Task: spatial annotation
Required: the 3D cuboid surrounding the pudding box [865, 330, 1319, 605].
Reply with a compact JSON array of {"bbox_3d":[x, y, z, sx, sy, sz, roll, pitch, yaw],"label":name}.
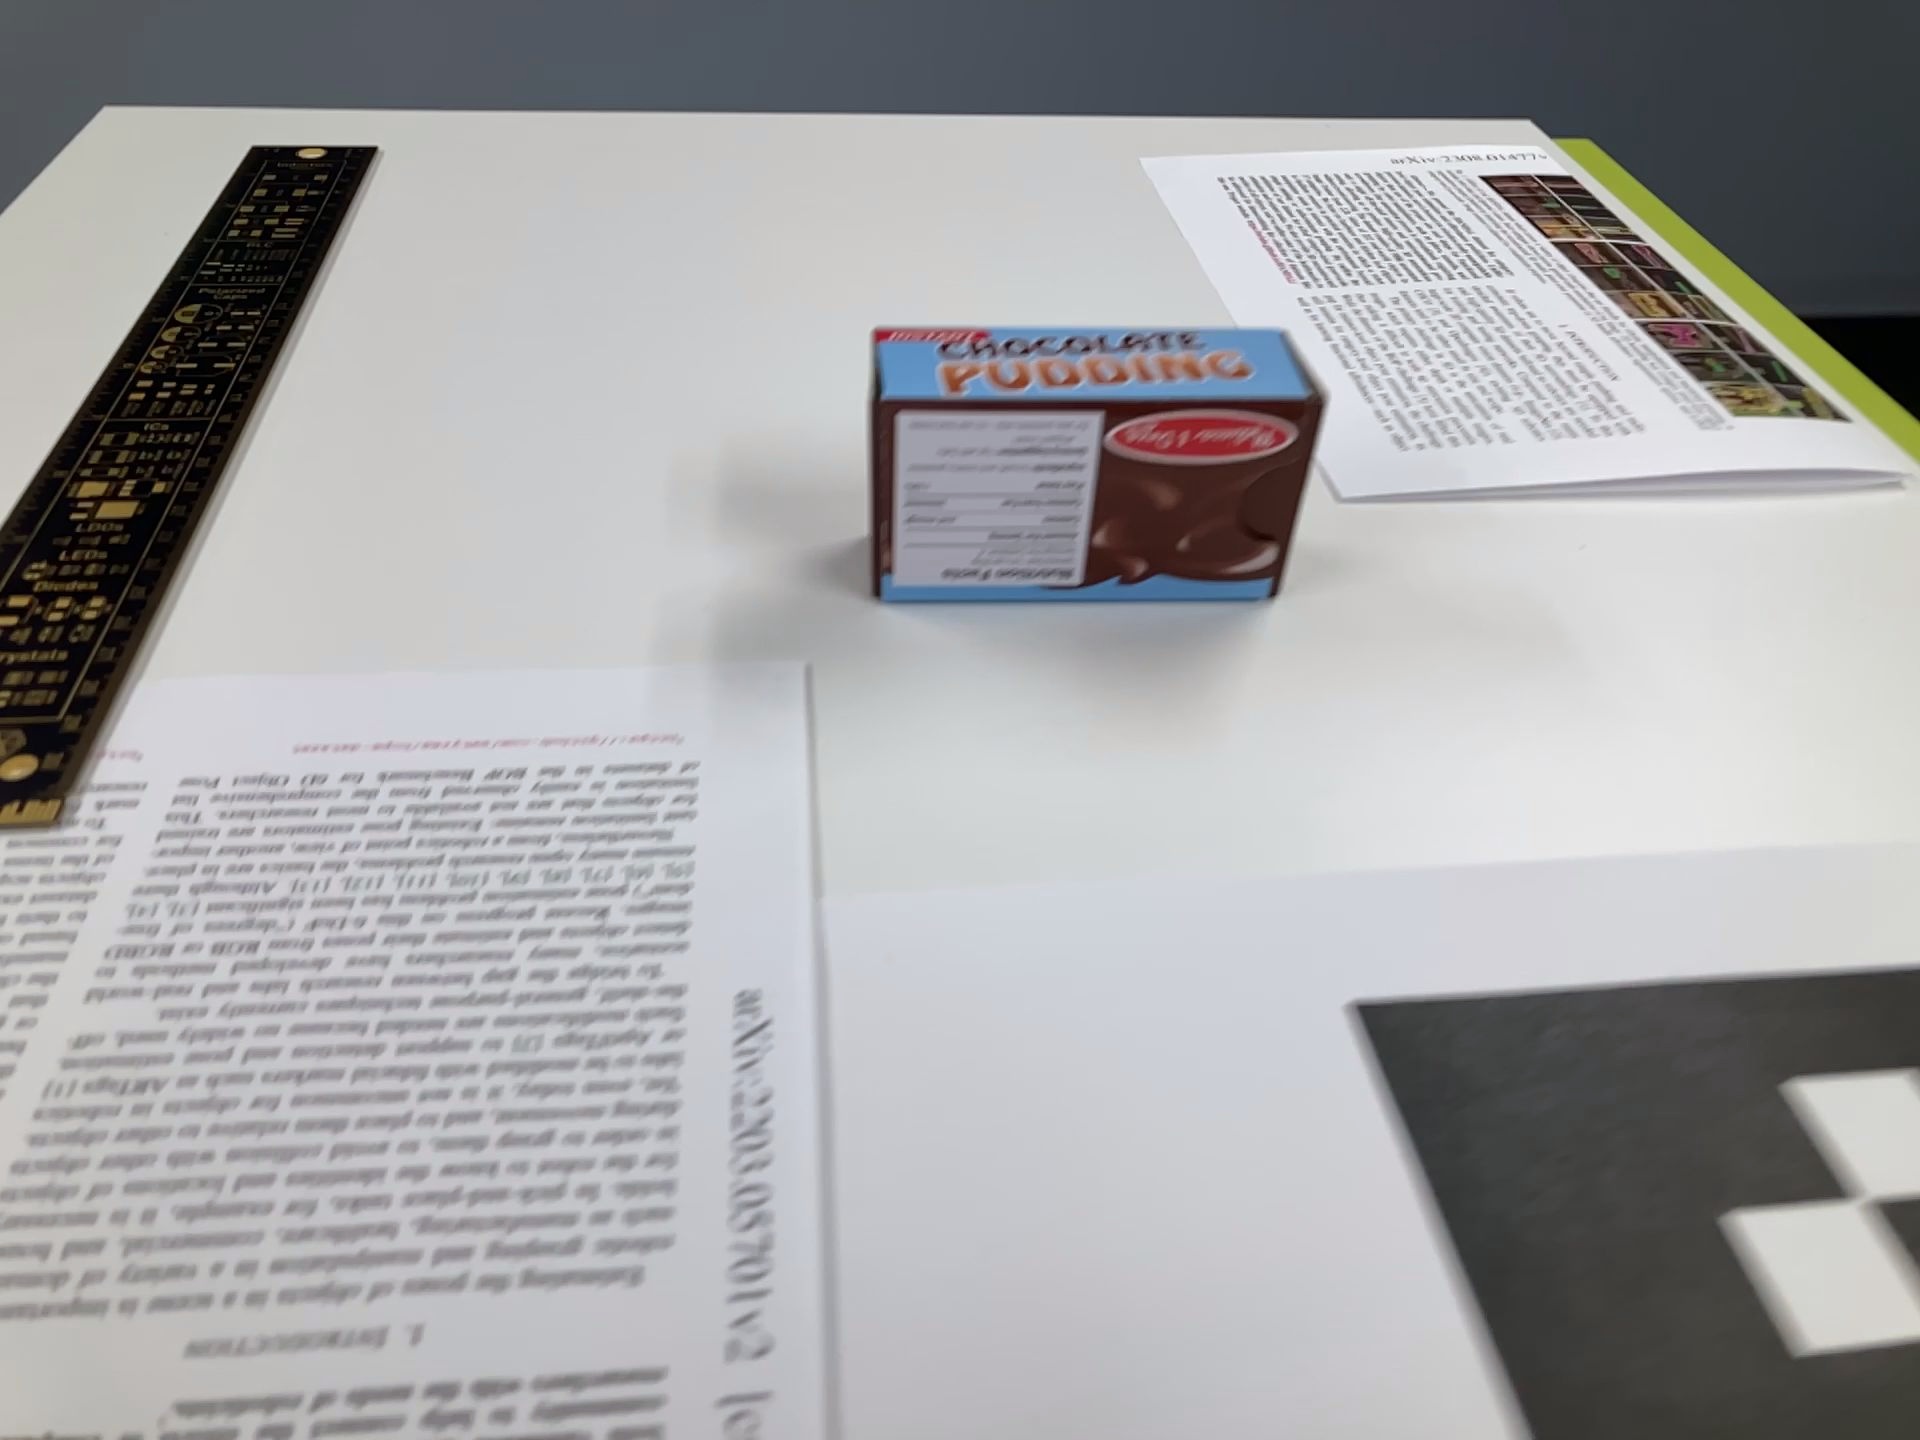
[{"bbox_3d":[0.023,-0.049,0.317,0.083,0.049,0.030,-1,41,-5],"label":"pudding box"}]
